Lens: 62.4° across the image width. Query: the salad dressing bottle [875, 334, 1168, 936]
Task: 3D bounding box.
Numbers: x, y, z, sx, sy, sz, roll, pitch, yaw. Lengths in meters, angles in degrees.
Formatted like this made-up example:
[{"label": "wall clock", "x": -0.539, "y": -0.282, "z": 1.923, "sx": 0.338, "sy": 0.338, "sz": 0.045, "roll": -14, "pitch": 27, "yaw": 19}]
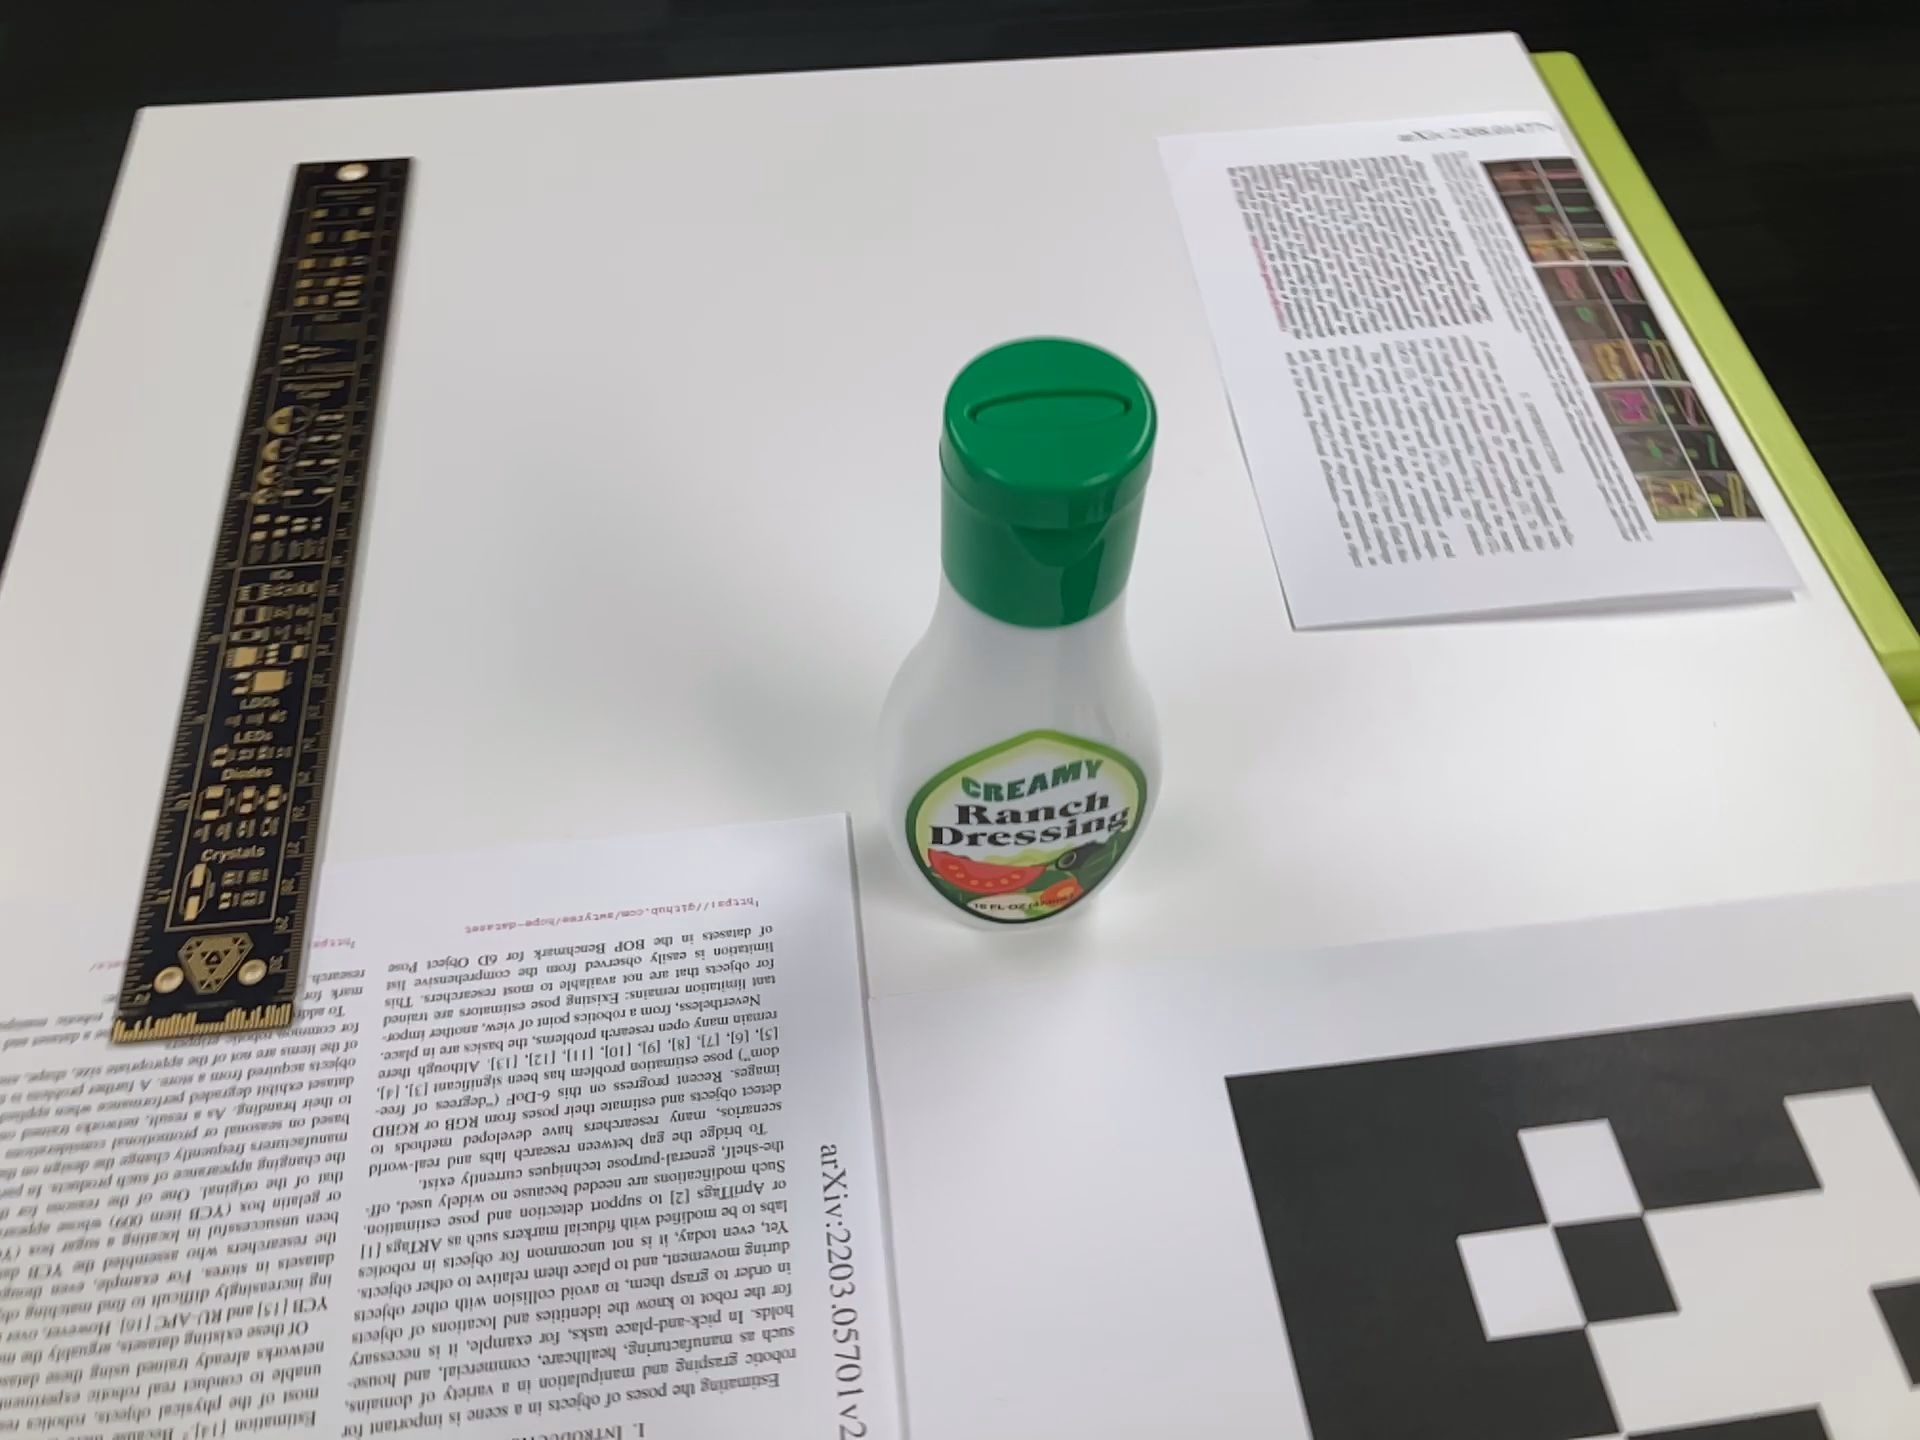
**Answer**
[{"label": "salad dressing bottle", "x": 0.013, "y": -0.010, "z": 0.322, "sx": 0.064, "sy": 0.147, "sz": 0.044, "roll": -5, "pitch": 54, "yaw": -4}]
